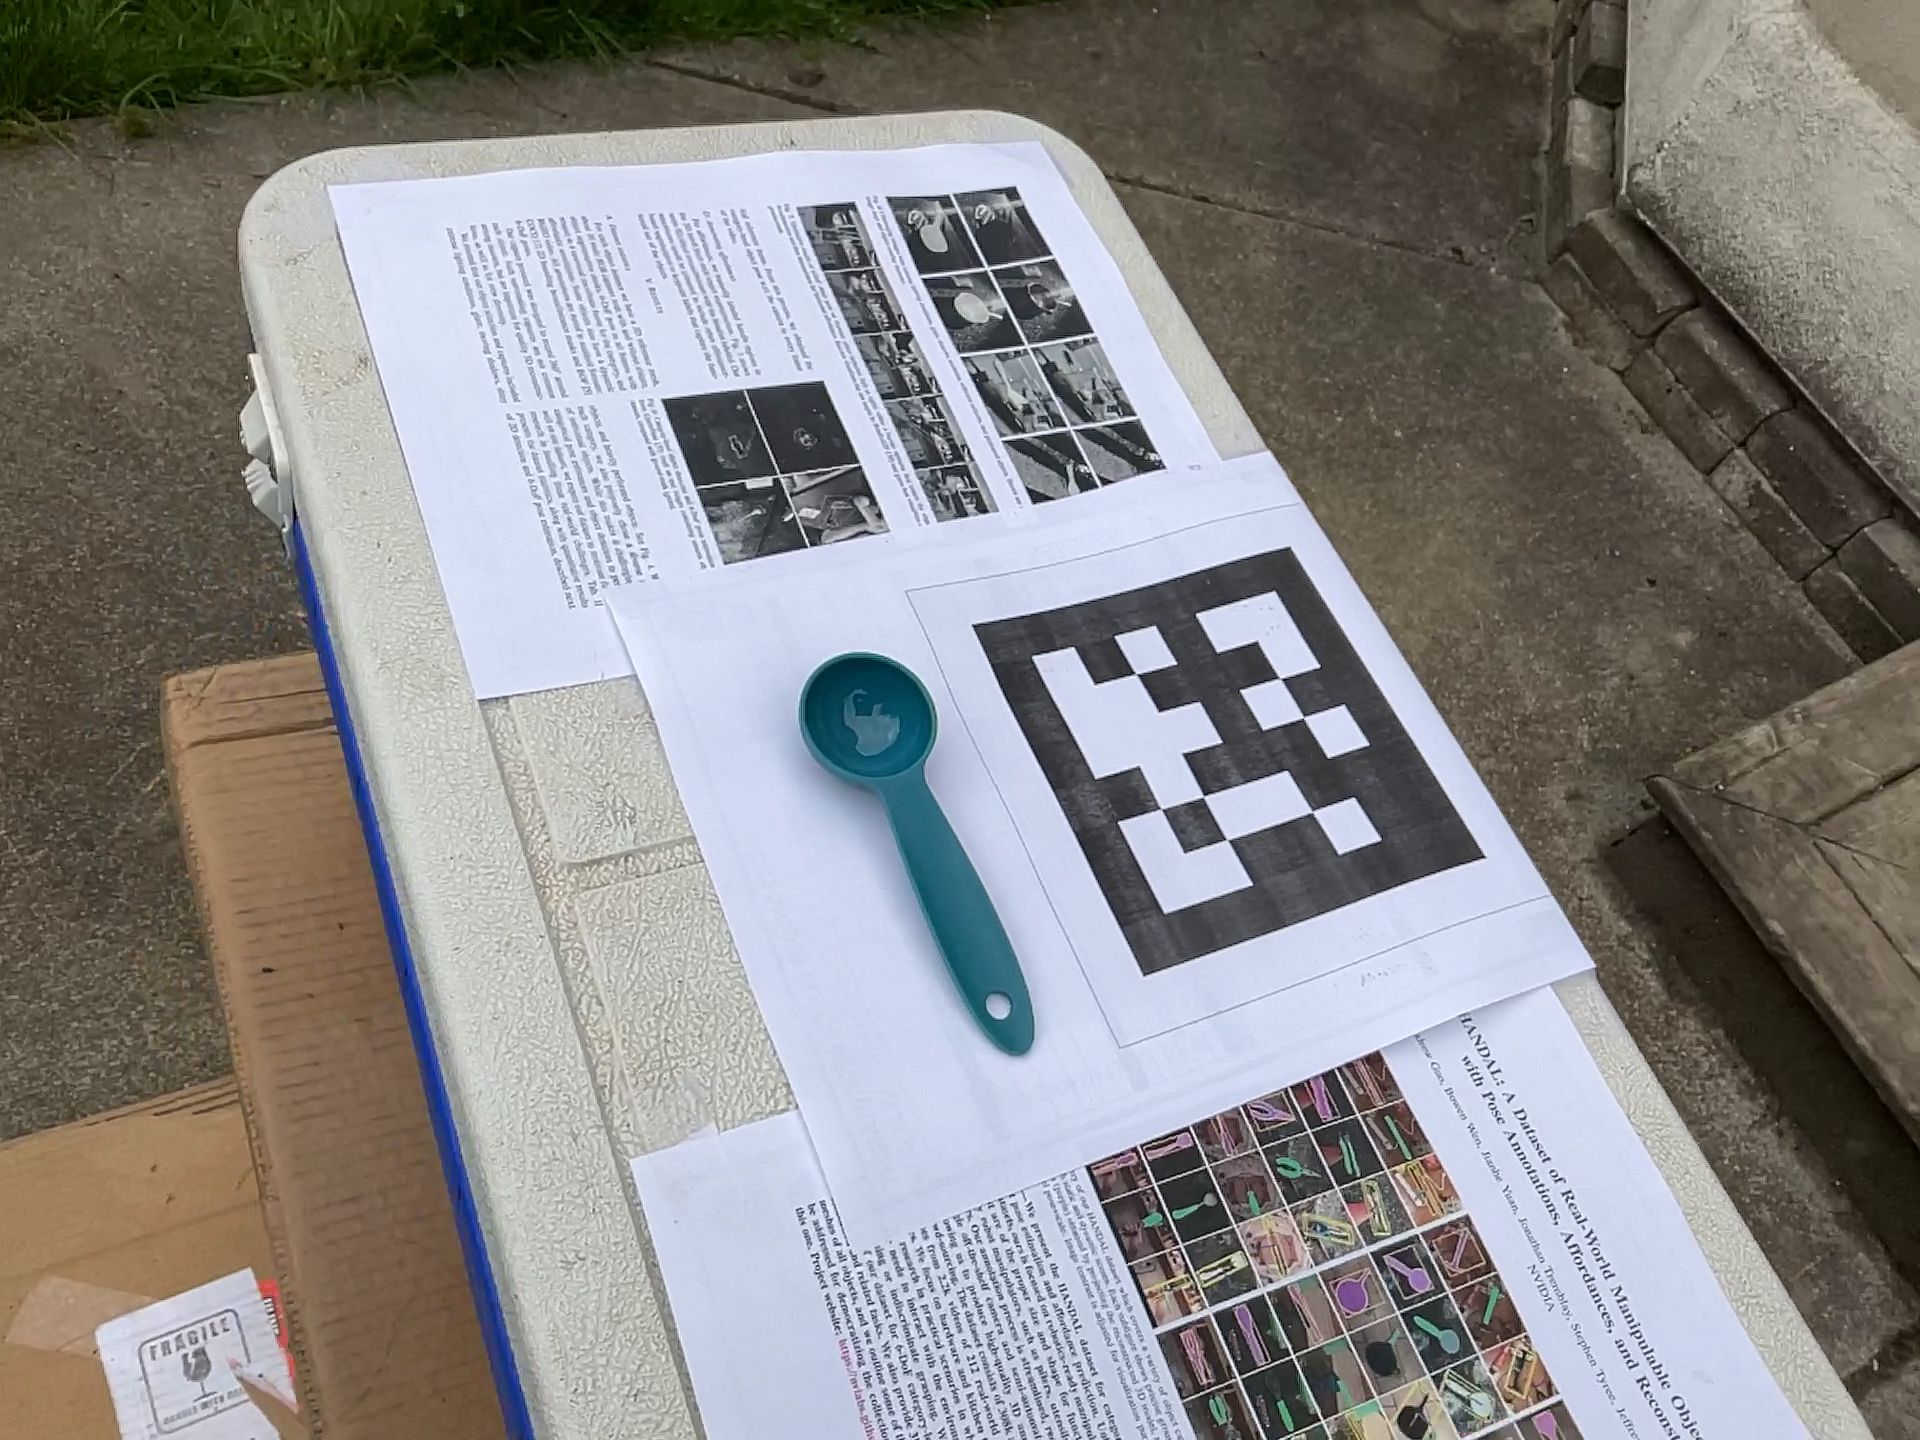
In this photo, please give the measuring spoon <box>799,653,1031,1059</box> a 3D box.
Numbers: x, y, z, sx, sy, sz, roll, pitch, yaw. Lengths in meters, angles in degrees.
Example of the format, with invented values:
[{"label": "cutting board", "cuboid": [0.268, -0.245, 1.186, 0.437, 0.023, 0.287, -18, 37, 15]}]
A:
[{"label": "measuring spoon", "cuboid": [-0.012, 0.041, 0.470, 0.042, 0.021, 0.129, -17, 74, -25]}]
